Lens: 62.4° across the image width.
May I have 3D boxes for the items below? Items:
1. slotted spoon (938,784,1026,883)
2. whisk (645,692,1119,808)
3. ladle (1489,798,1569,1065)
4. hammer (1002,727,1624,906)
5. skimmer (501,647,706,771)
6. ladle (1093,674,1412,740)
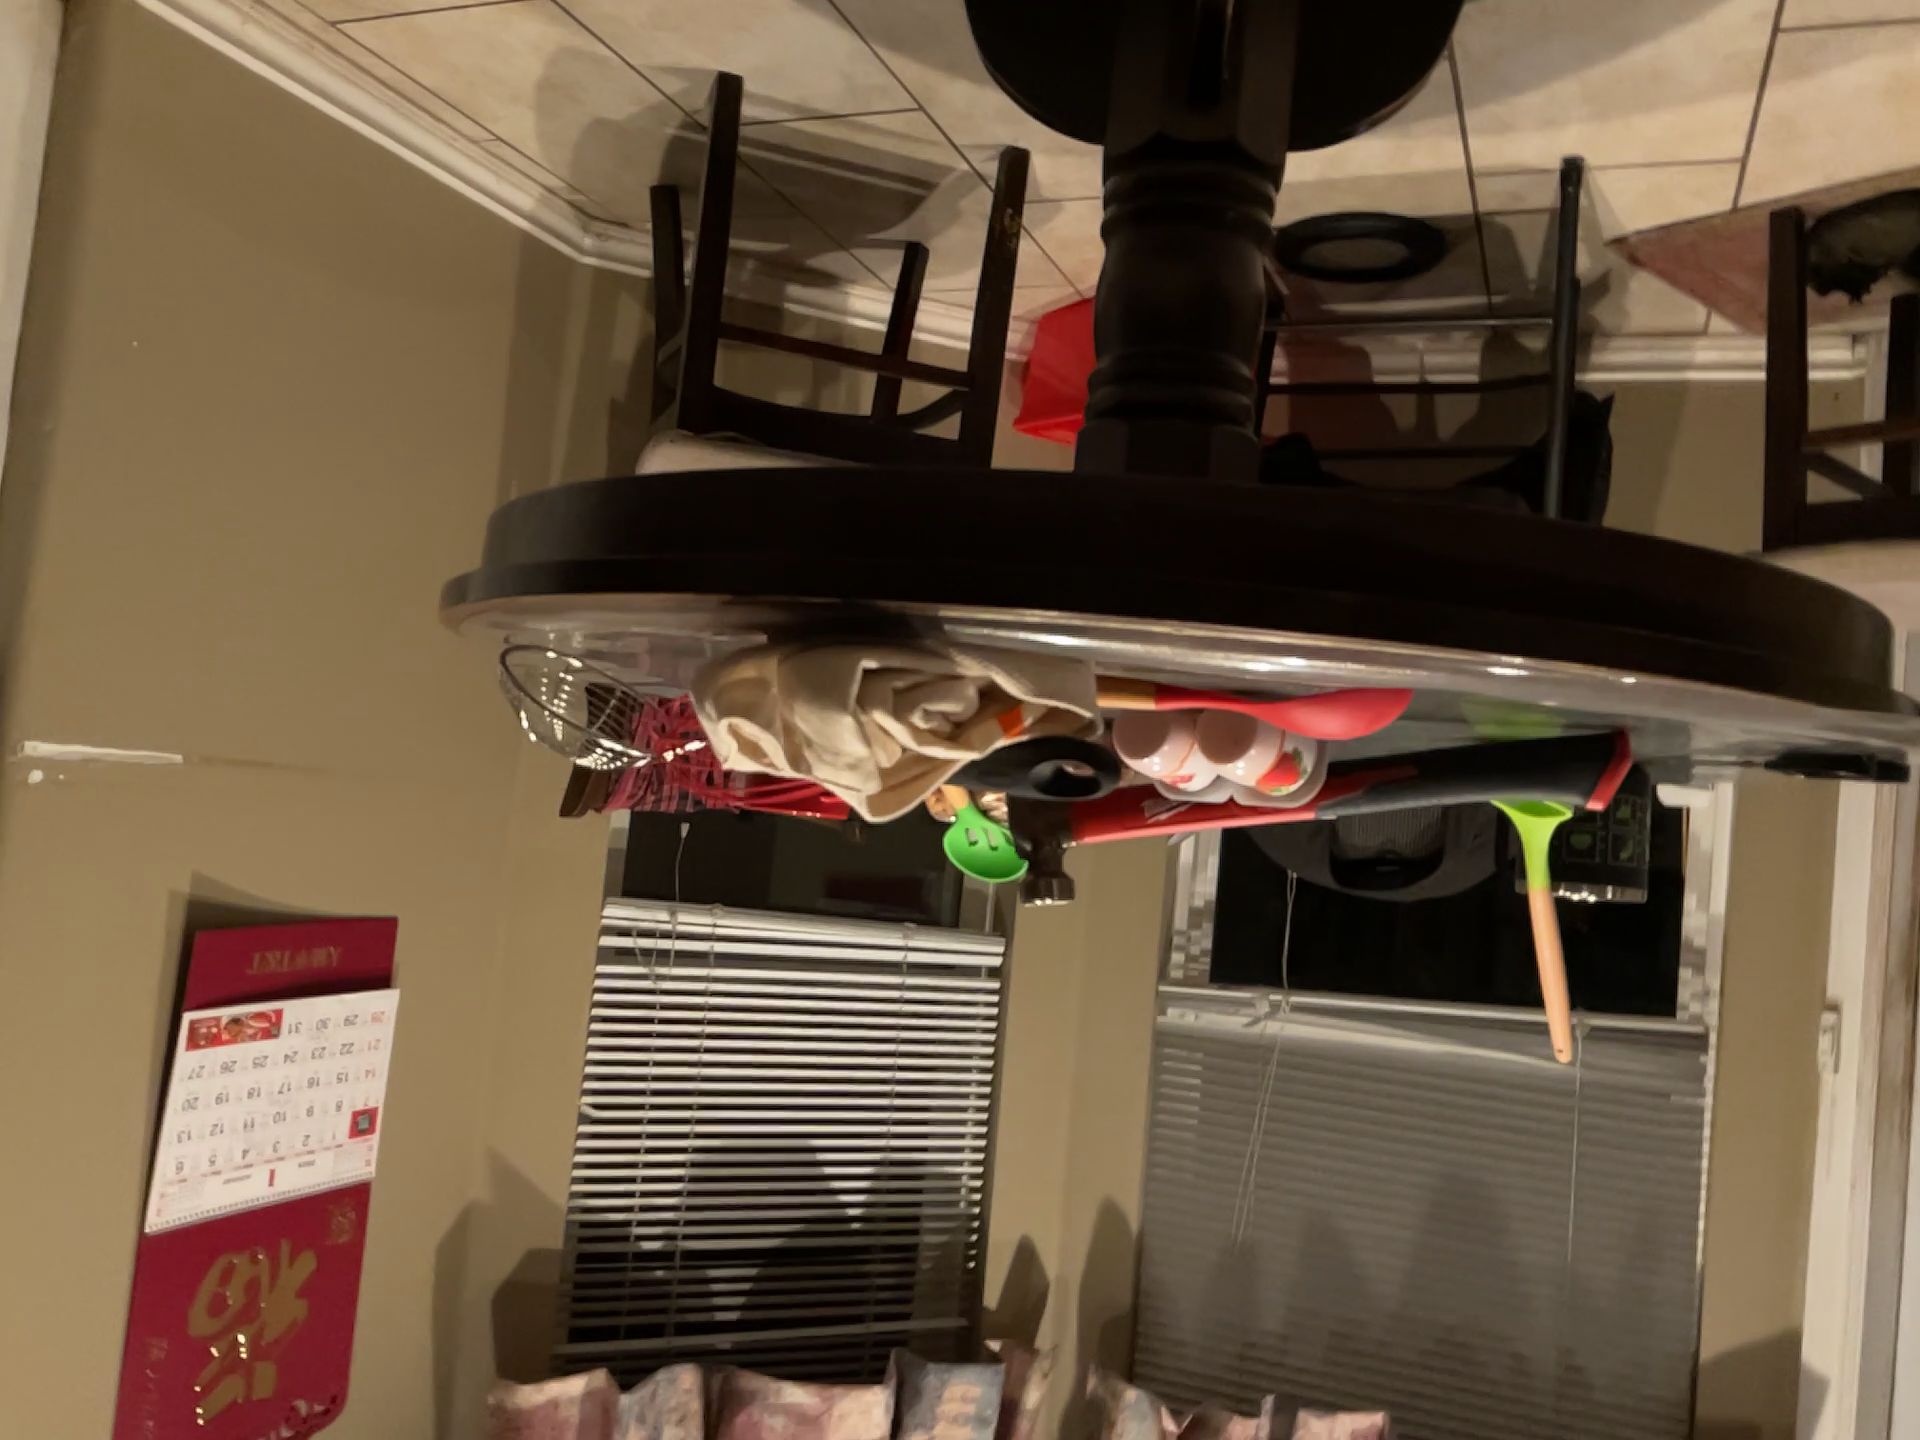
[{"bbox_3d":[-0.005,0.048,1.163,0.070,0.031,0.313,0,153,13],"label":"slotted spoon"},{"bbox_3d":[-0.052,0.019,0.840,0.296,0.073,0.073,3,174,30],"label":"whisk"},{"bbox_3d":[0.409,0.144,1.136,0.078,0.319,0.062,17,-132,44],"label":"ladle"},{"bbox_3d":[0.210,0.029,1.001,0.386,0.143,0.038,-9,172,23],"label":"hammer"},{"bbox_3d":[-0.120,-0.024,1.012,0.363,0.090,0.127,-7,-179,17],"label":"skimmer"},{"bbox_3d":[0.082,-0.017,0.859,0.316,0.031,0.069,6,176,25],"label":"ladle"}]
